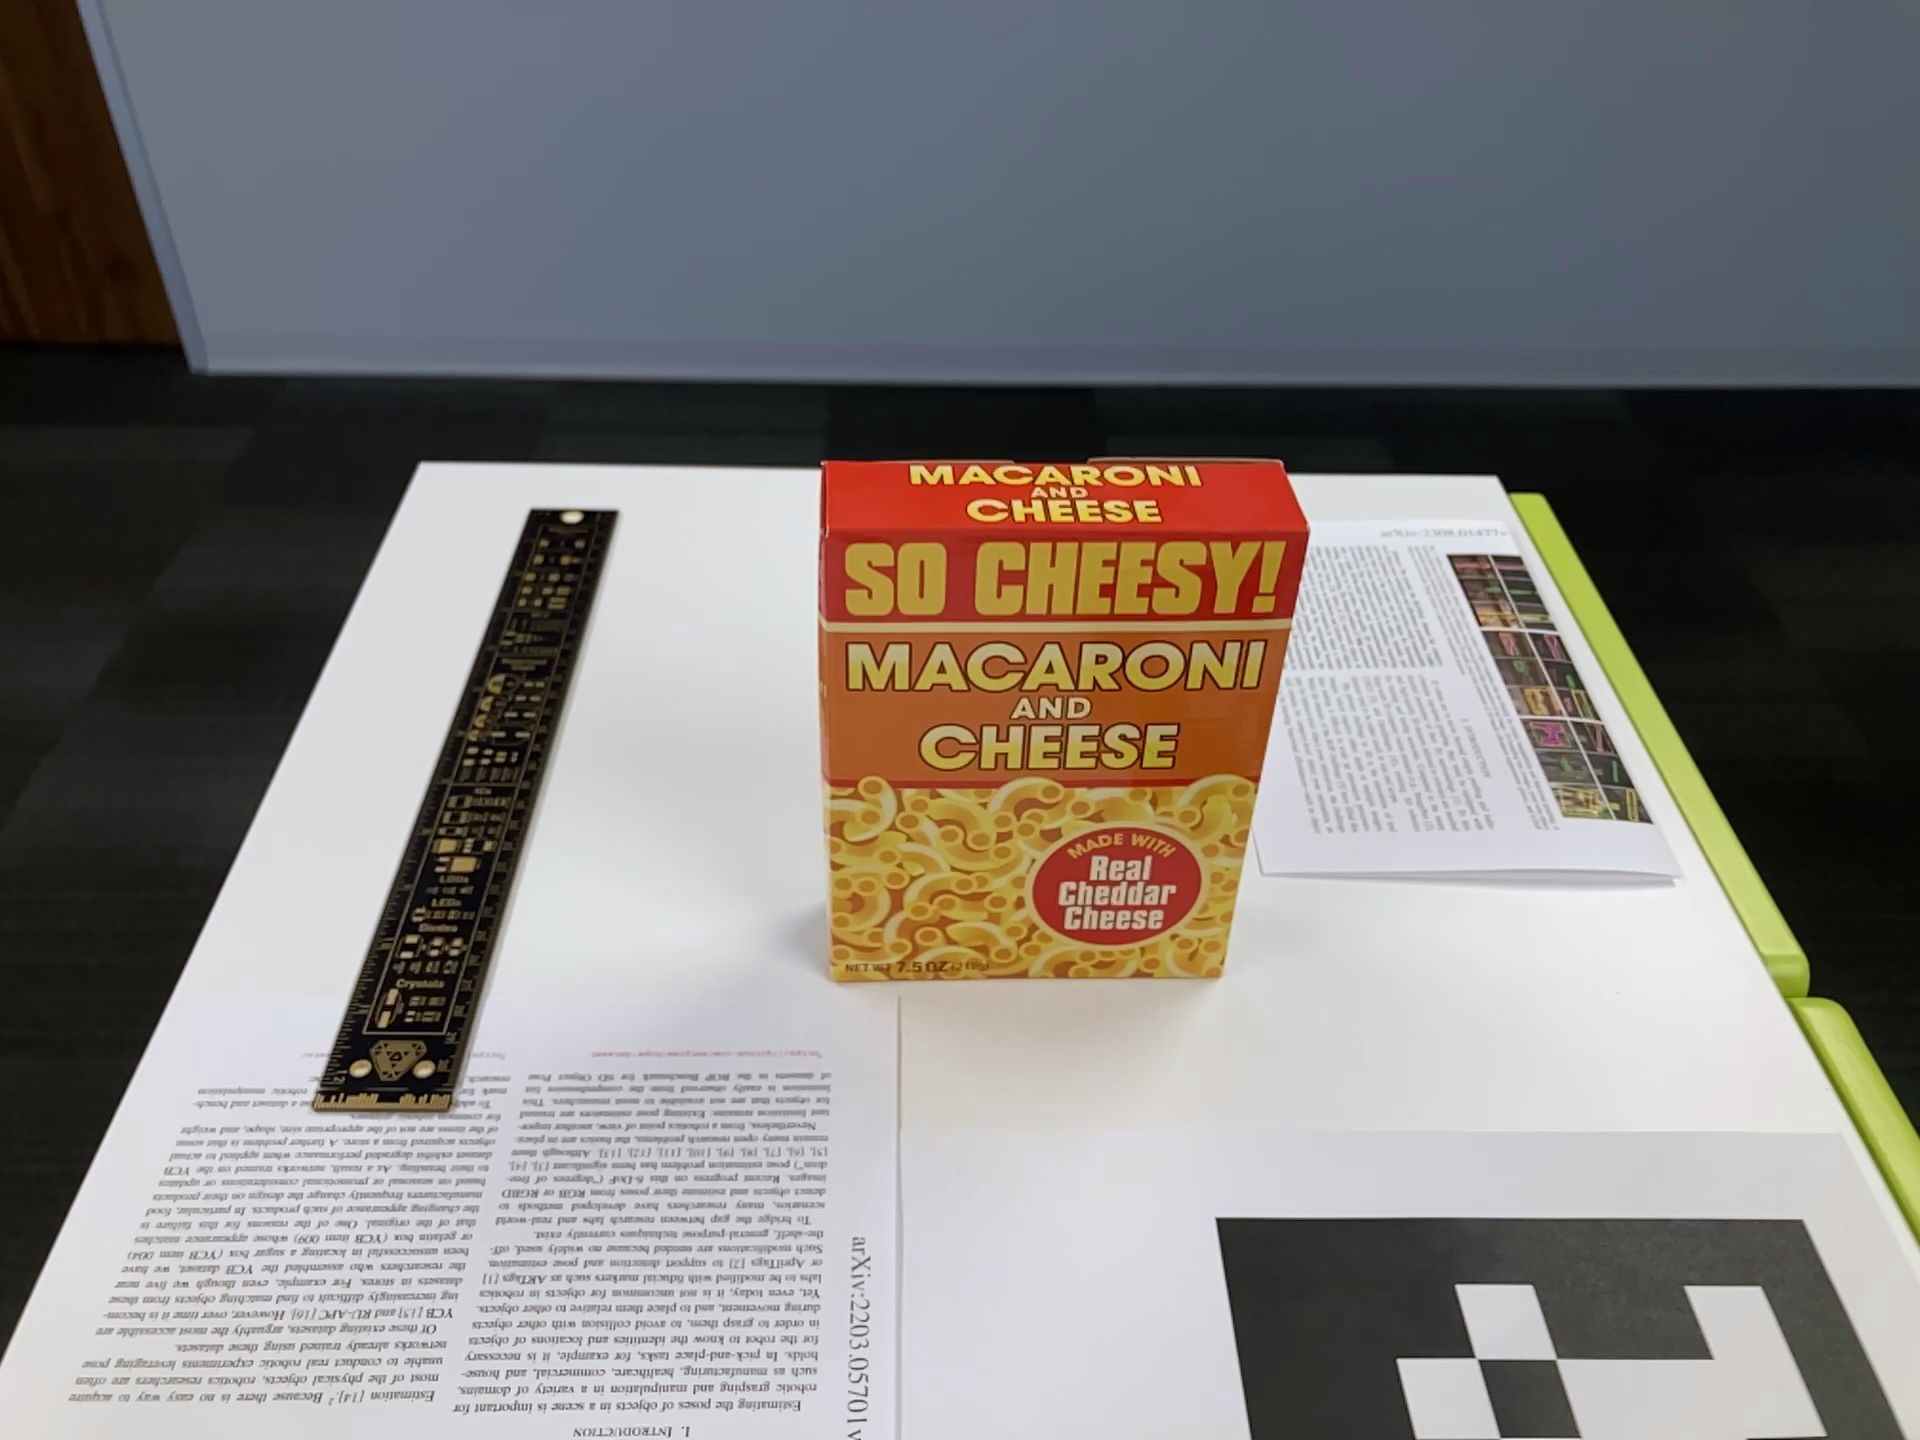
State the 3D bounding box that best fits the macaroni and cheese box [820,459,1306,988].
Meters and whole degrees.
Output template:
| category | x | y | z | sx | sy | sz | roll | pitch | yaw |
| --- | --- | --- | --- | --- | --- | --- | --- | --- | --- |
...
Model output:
| category | x | y | z | sx | sy | sz | roll | pitch | yaw |
| --- | --- | --- | --- | --- | --- | --- | --- | --- | --- |
| macaroni and cheese box | 0.022 | 0.006 | 0.457 | 0.124 | 0.166 | 0.040 | -1 | 39 | -4 |
